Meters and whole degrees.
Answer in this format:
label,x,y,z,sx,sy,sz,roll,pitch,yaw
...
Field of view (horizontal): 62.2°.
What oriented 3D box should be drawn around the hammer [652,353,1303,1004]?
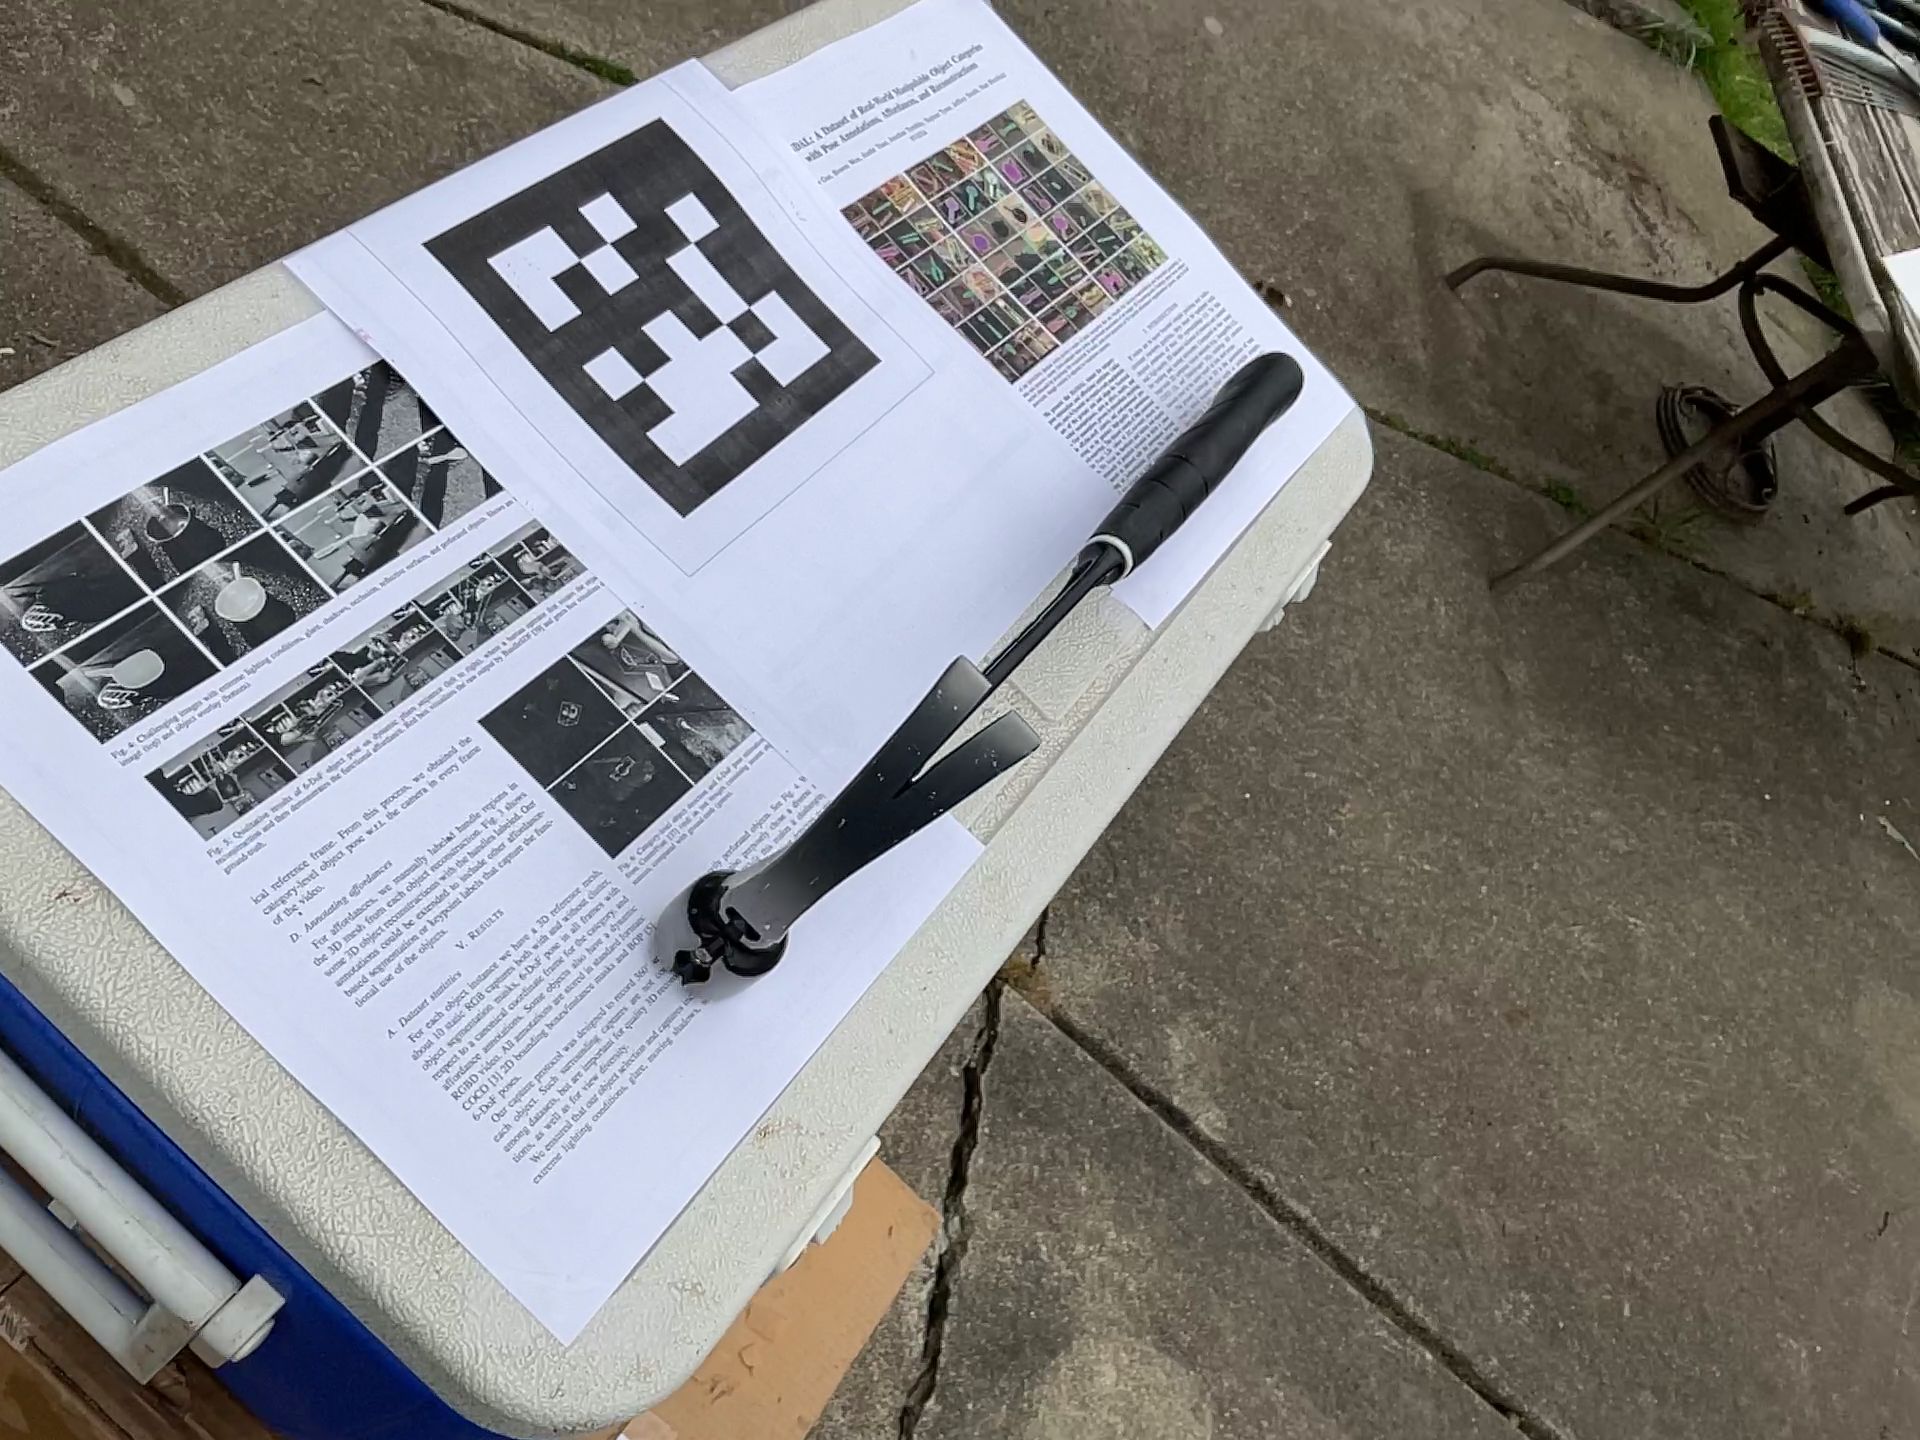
label,x,y,z,sx,sy,sz,roll,pitch,yaw
hammer,0.048,-0.055,0.581,0.036,0.149,0.409,47,43,-3
